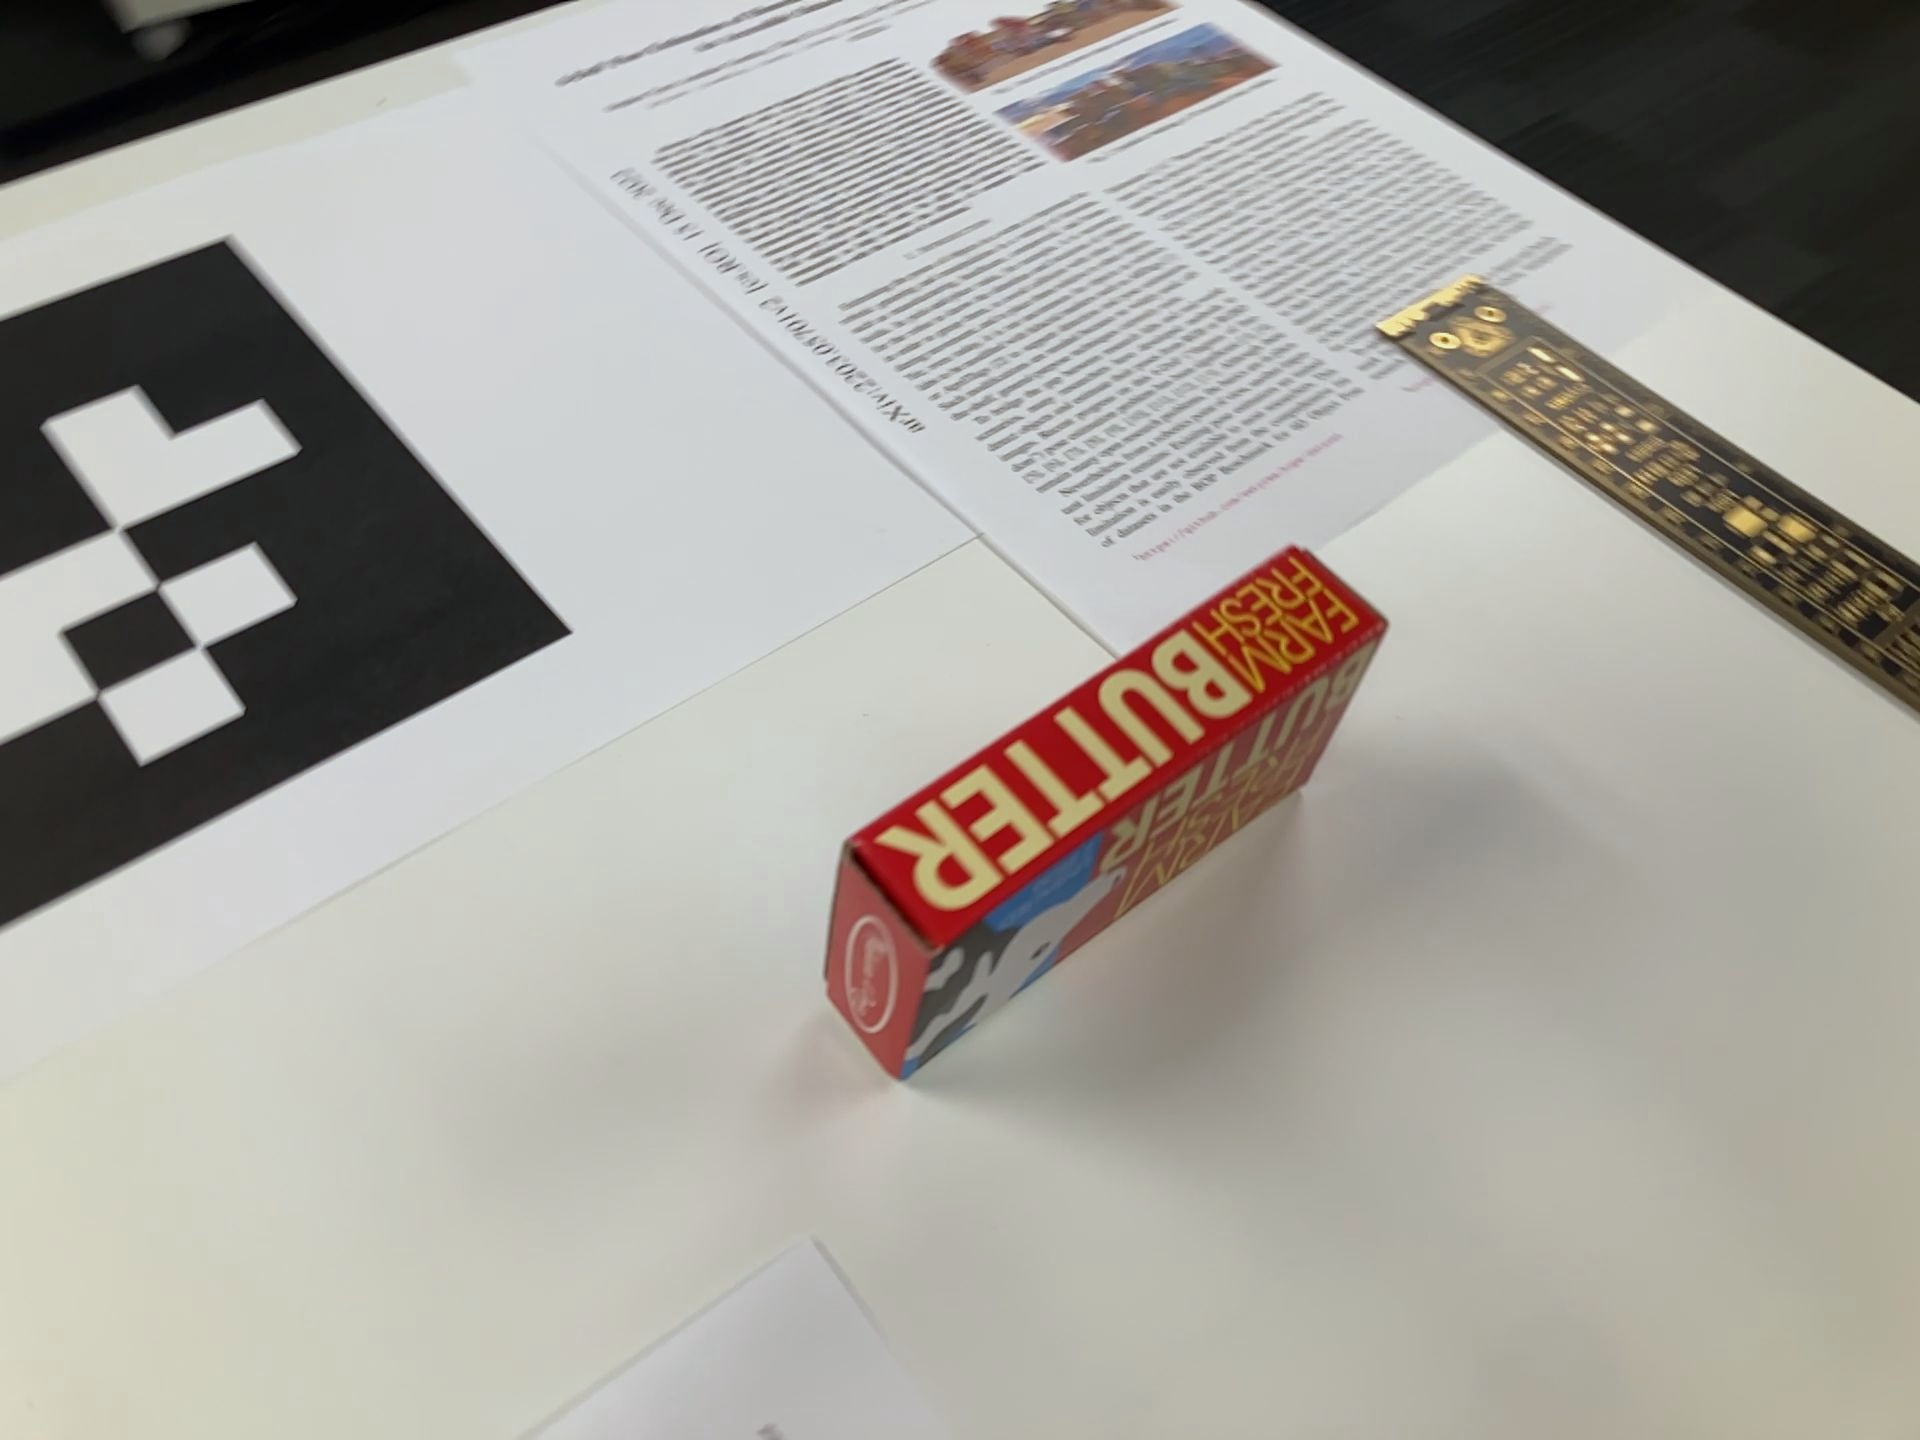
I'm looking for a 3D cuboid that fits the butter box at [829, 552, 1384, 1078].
[{"bbox_3d":[0.025,0.015,0.276,0.103,0.053,0.024,-32,66,-25],"label":"butter box"}]
